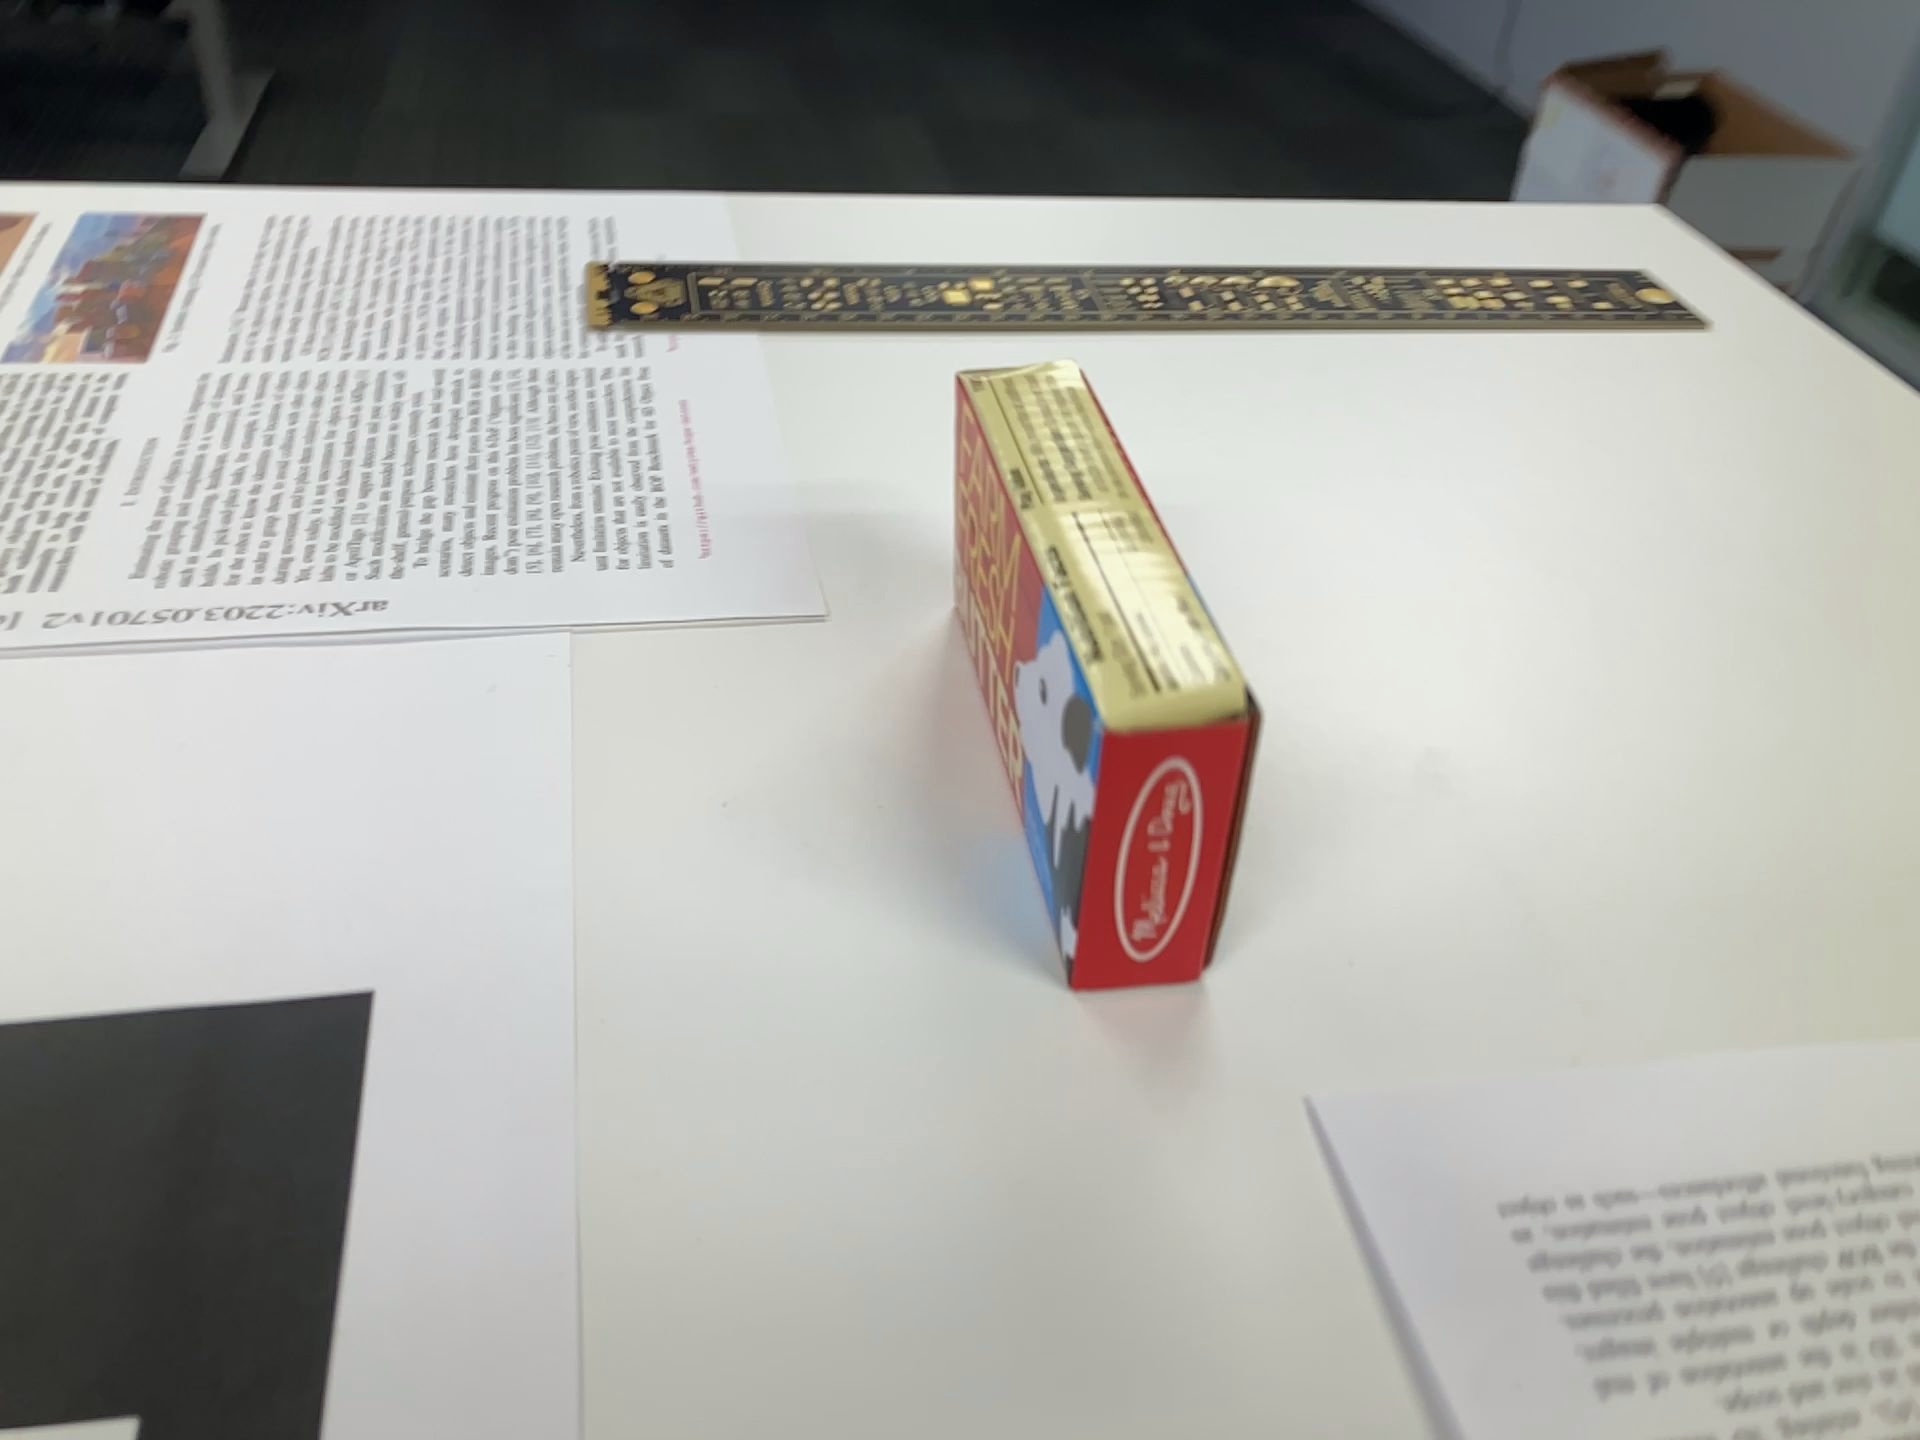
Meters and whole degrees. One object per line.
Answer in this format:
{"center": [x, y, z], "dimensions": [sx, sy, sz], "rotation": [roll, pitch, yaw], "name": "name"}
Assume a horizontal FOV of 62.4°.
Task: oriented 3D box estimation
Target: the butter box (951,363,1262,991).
{"center": [0.019, -0.012, 0.259], "dimensions": [0.024, 0.053, 0.103], "rotation": [-5, 39, -9], "name": "butter box"}
